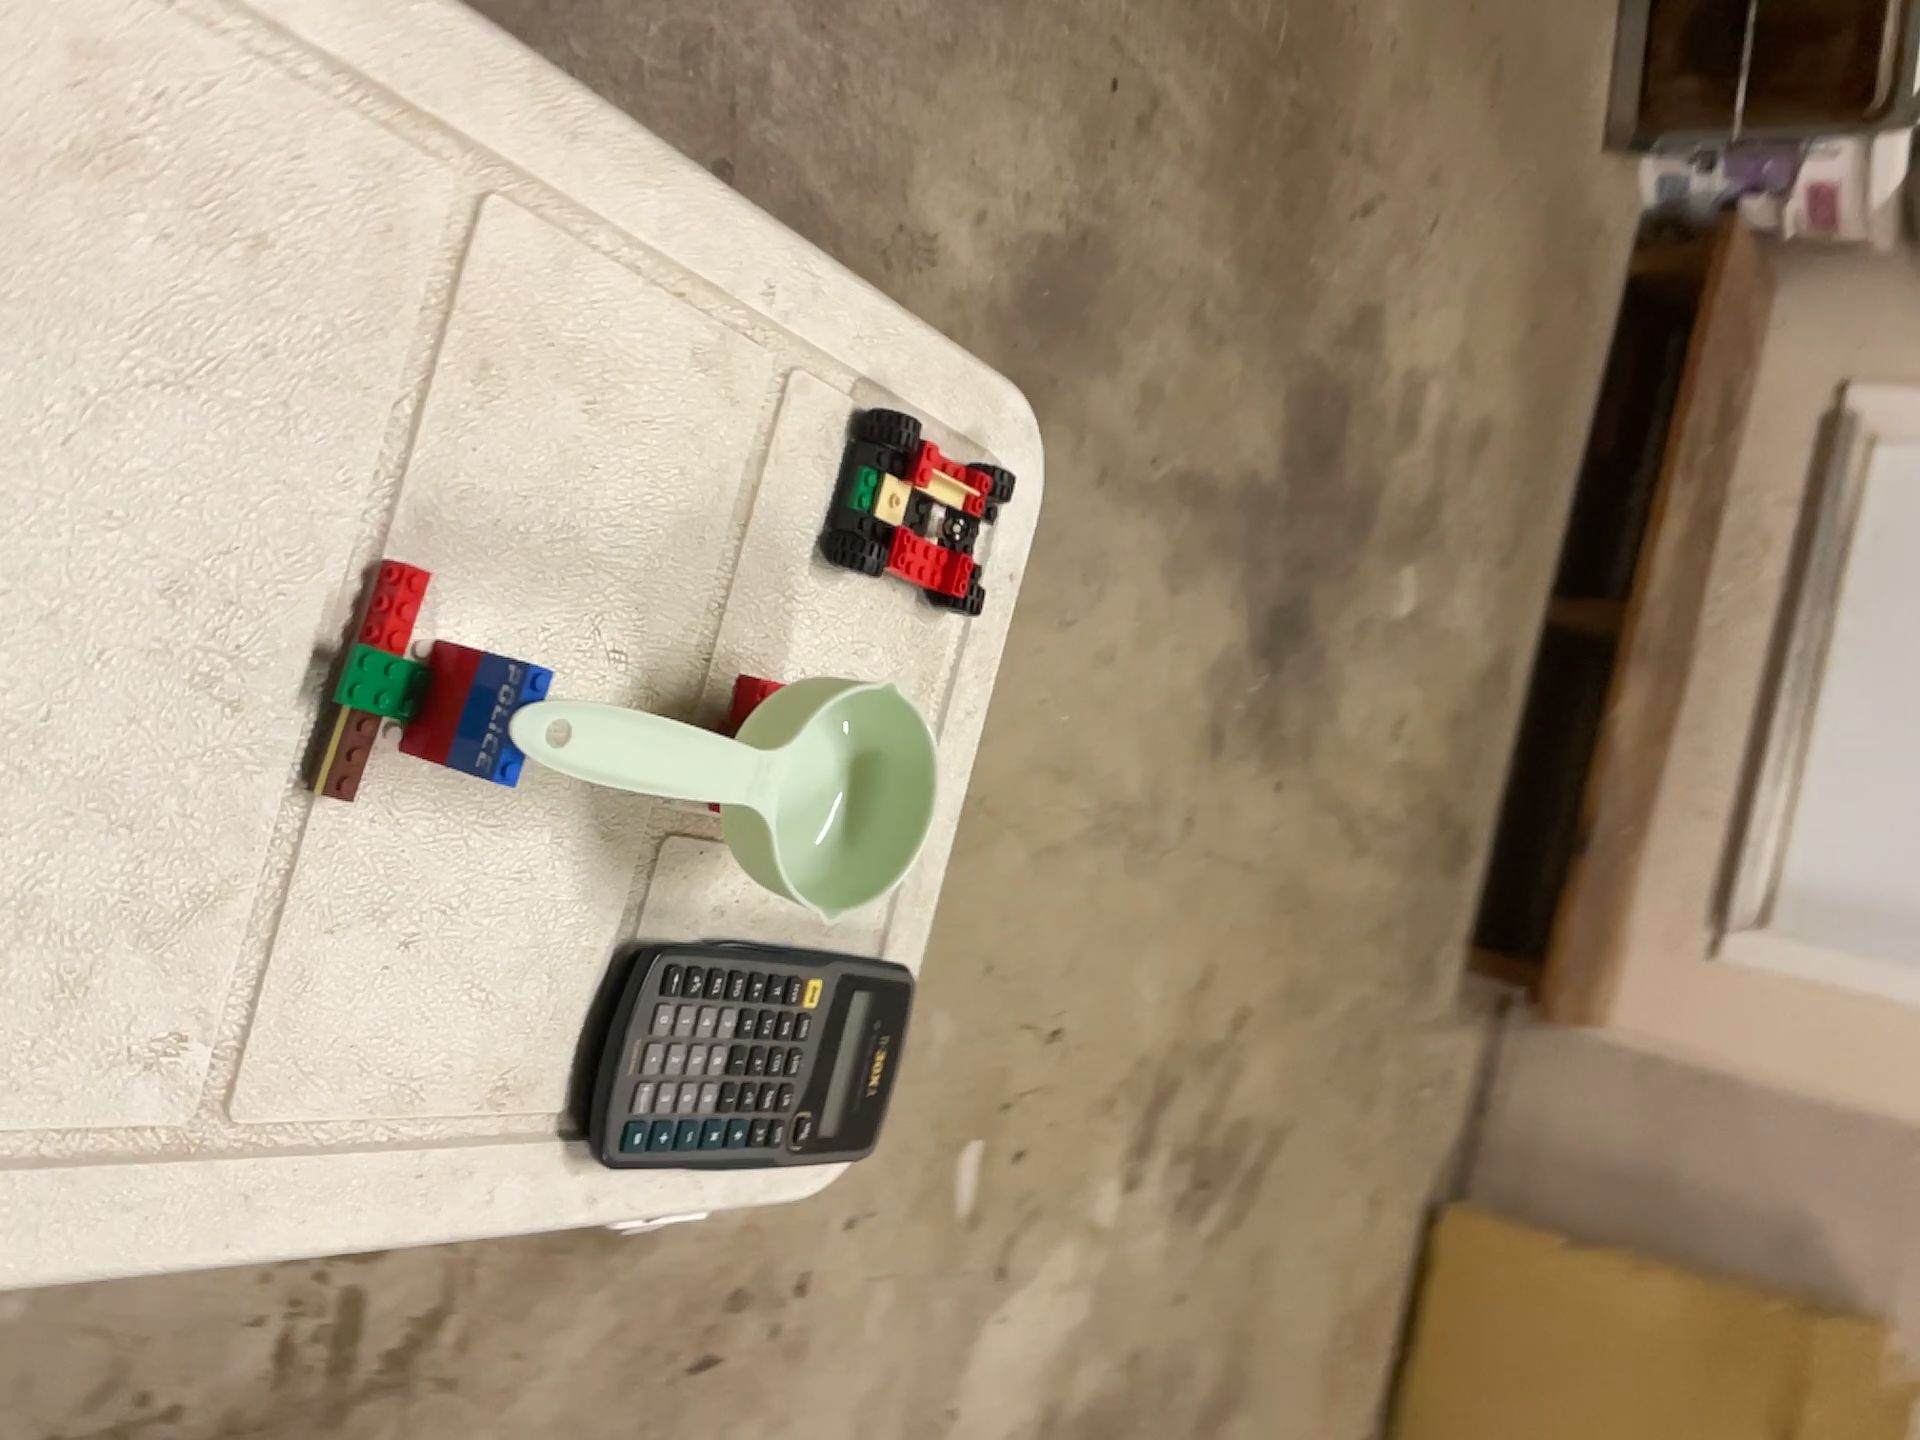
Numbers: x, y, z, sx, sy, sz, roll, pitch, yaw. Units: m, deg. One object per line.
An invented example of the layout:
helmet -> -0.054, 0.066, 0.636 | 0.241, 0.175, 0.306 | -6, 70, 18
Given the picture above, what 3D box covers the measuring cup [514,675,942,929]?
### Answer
measuring cup -> -0.072, 0.015, 0.485 | 0.167, 0.038, 0.083 | 15, 90, -50
